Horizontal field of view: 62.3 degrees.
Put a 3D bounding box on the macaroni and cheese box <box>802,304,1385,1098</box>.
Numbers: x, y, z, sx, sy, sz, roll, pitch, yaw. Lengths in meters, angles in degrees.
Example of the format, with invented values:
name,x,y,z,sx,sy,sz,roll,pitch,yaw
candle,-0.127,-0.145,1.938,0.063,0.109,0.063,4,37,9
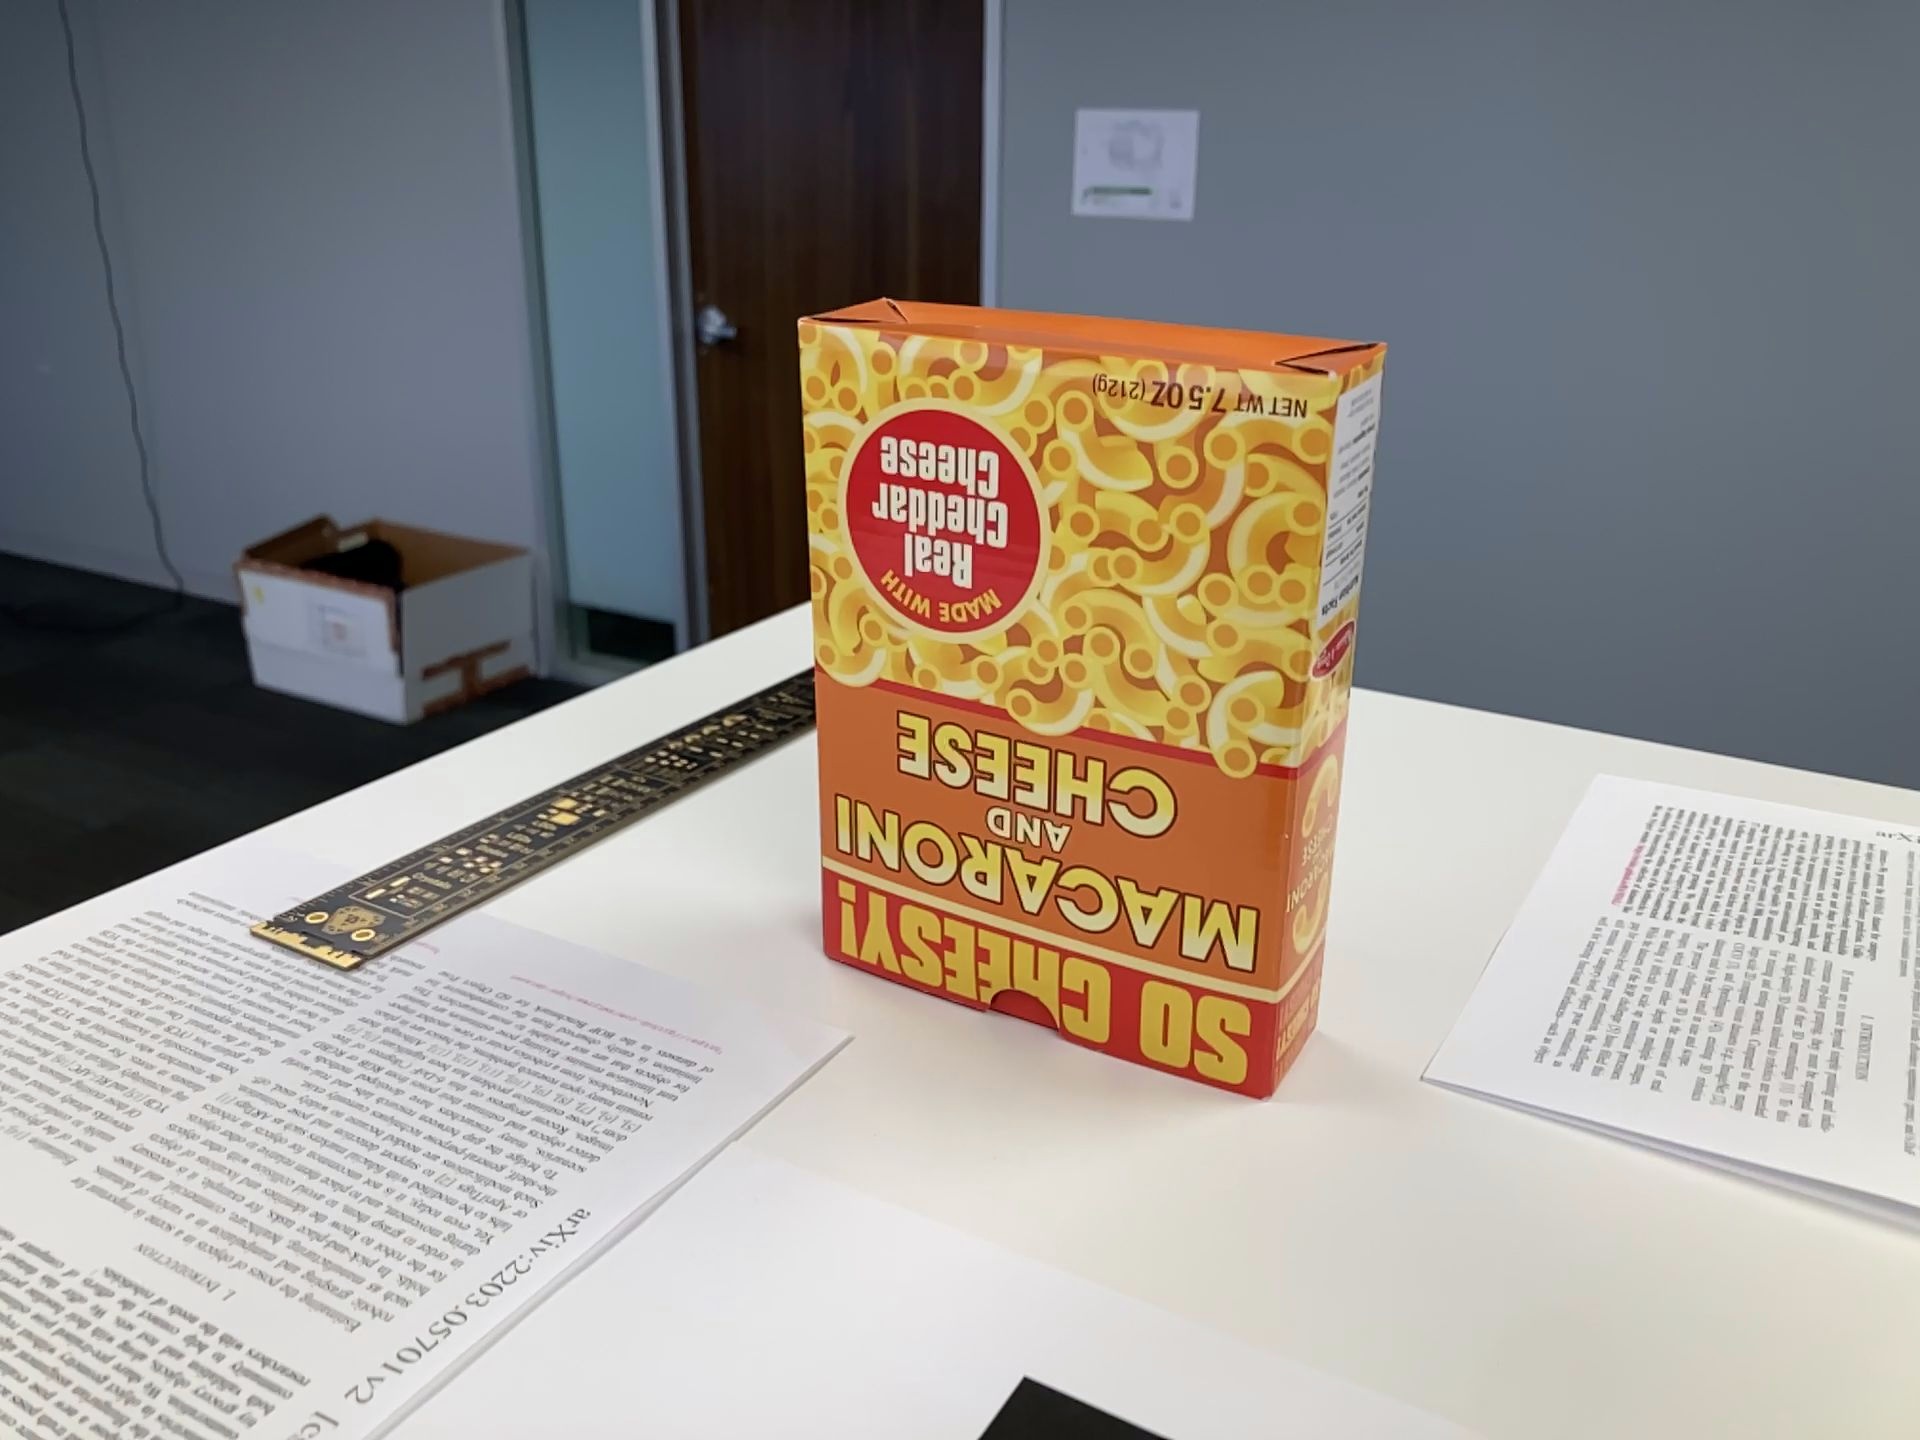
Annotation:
name,x,y,z,sx,sy,sz,roll,pitch,yaw
macaroni and cheese box,0.025,-0.006,0.373,0.124,0.166,0.040,13,26,27
